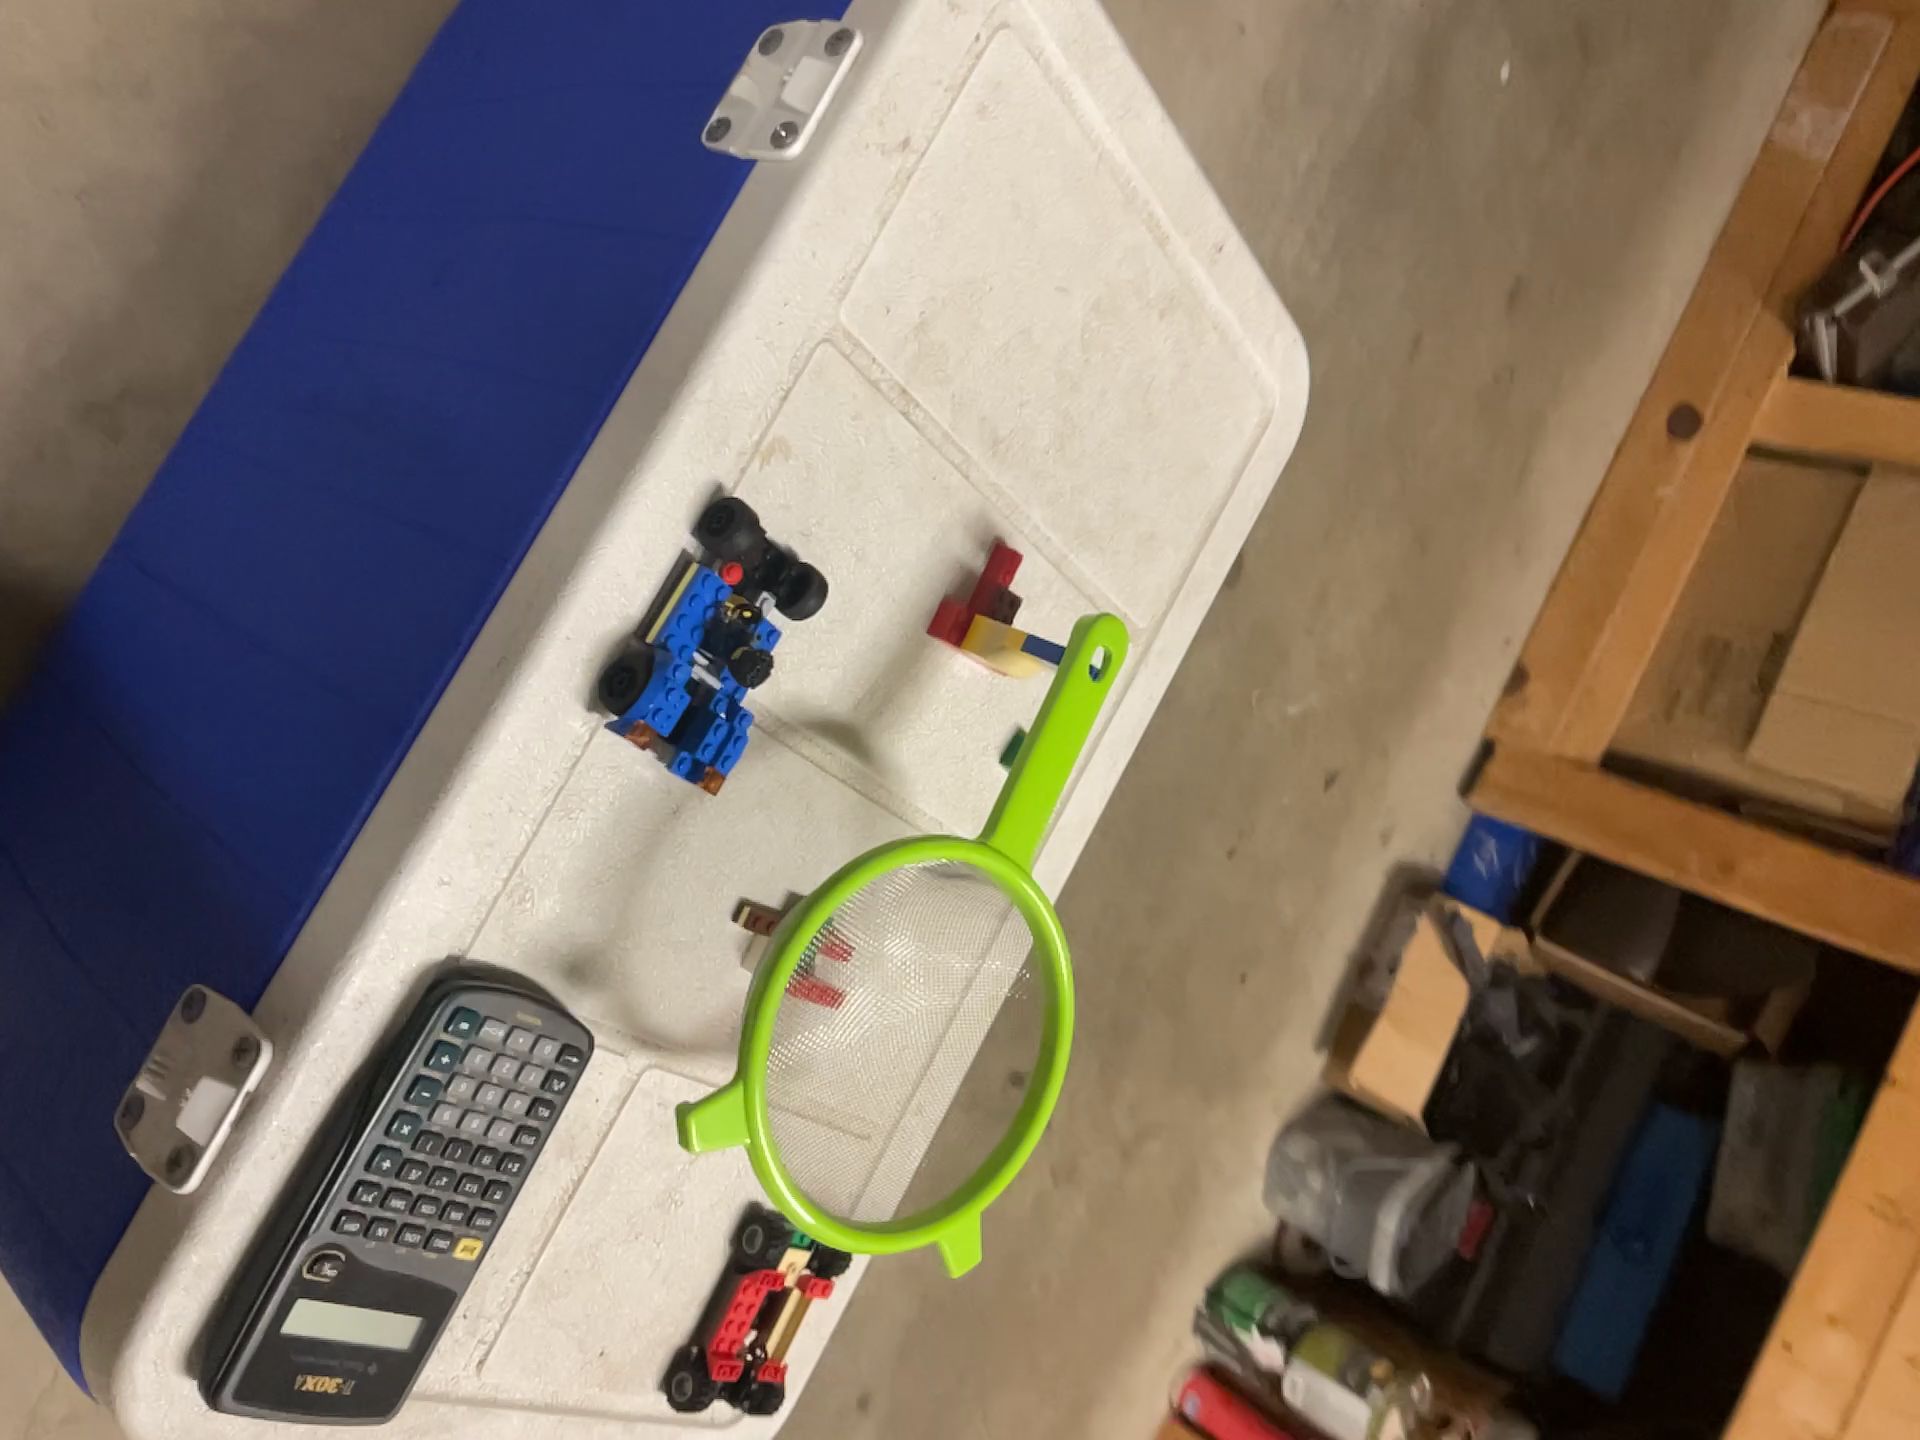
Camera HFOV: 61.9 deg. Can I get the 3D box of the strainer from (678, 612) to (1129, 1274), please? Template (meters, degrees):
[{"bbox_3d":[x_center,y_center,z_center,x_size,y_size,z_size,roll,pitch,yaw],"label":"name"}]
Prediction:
[{"bbox_3d":[-0.010,0.068,0.613,0.151,0.069,0.256,39,69,-36],"label":"strainer"}]
